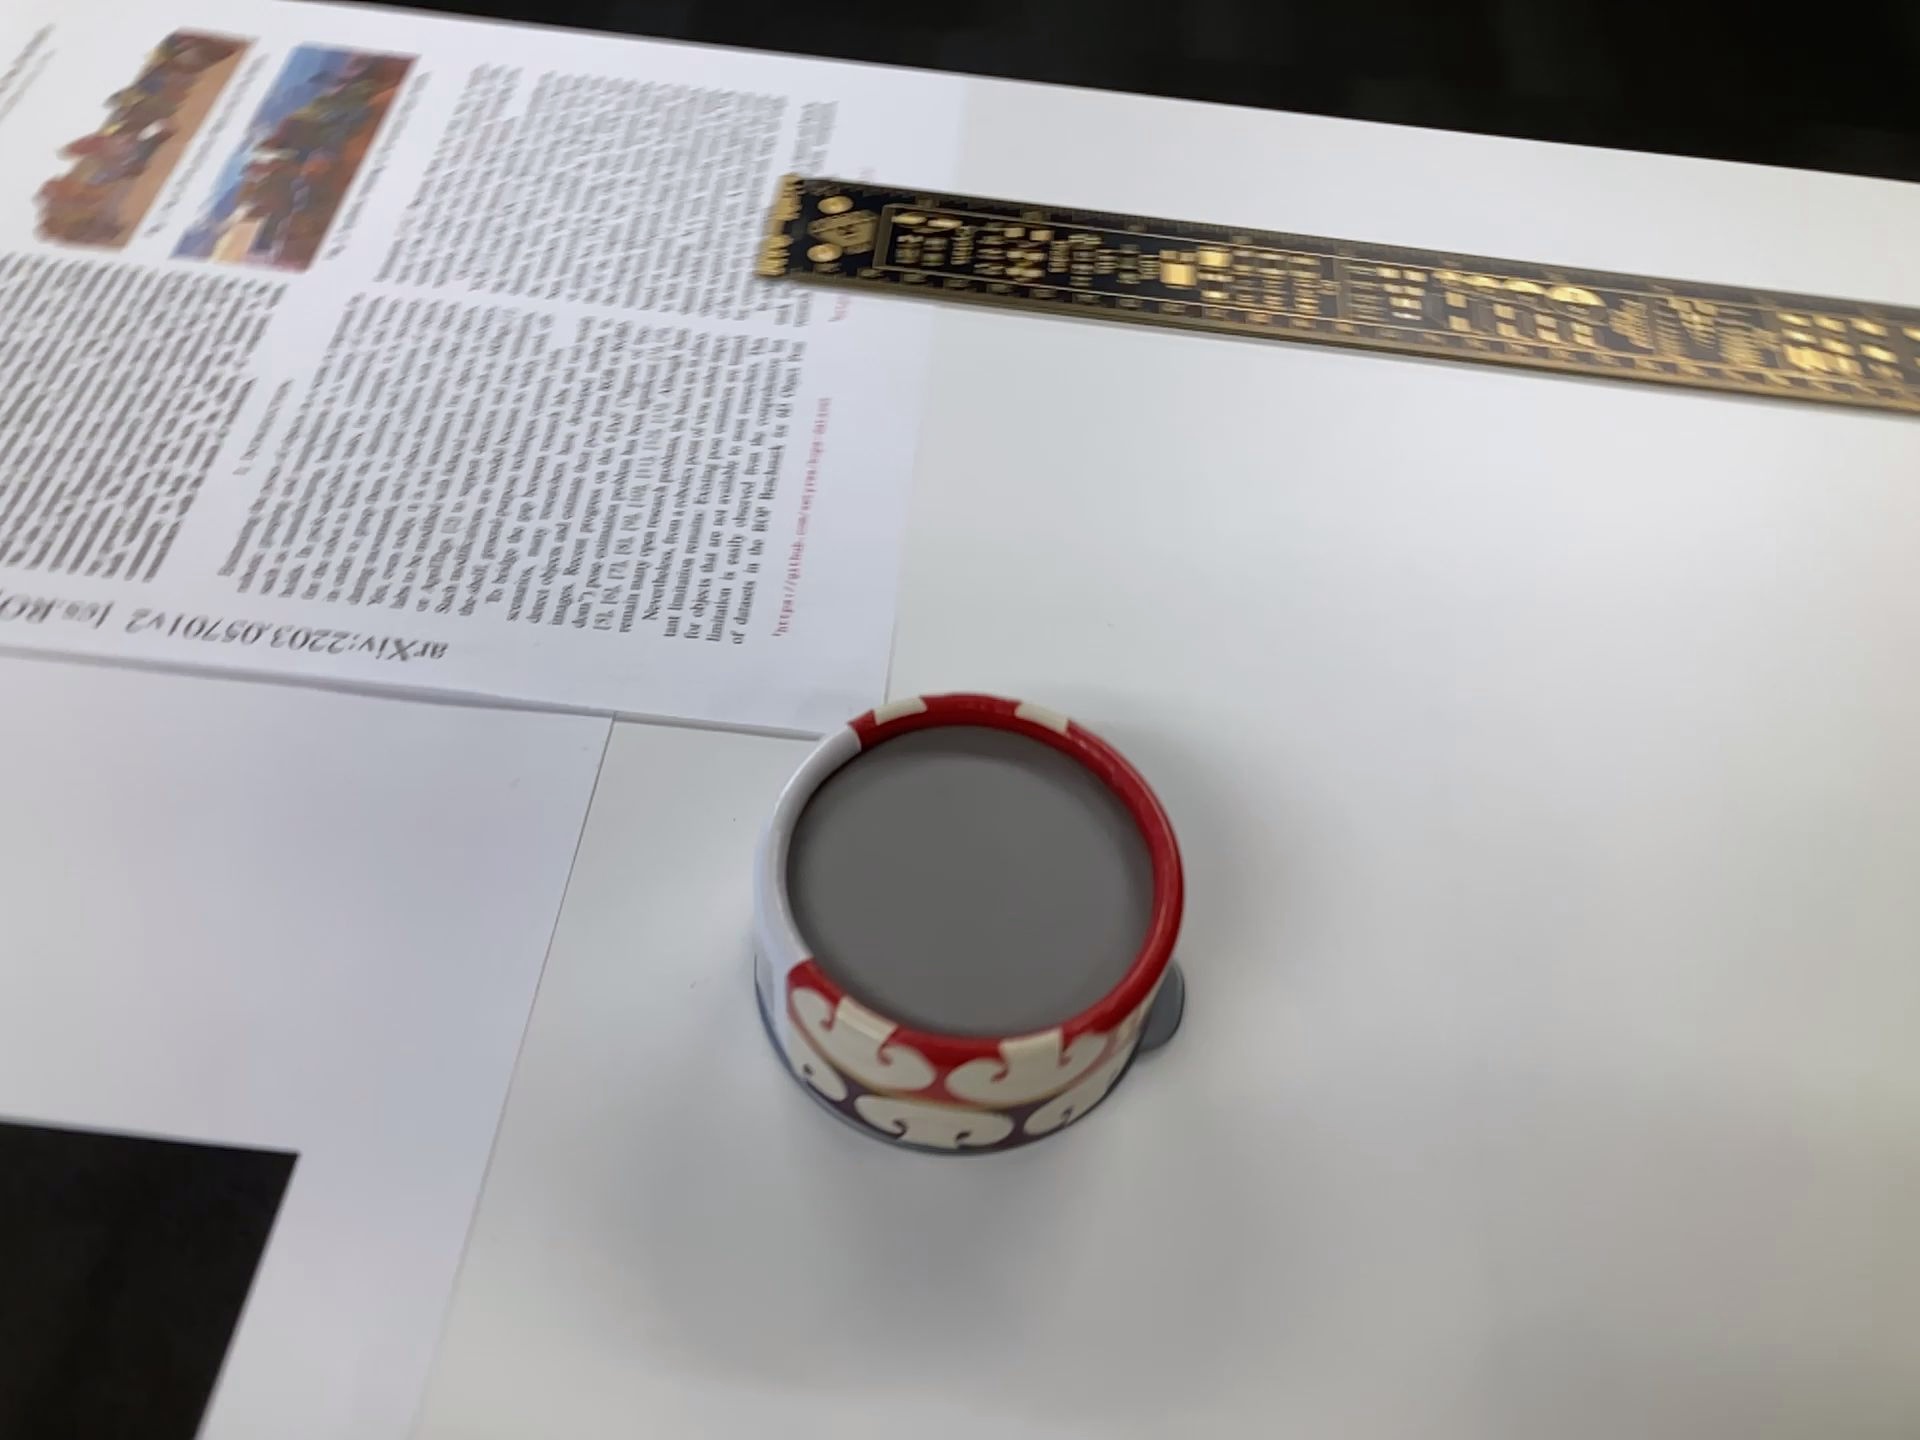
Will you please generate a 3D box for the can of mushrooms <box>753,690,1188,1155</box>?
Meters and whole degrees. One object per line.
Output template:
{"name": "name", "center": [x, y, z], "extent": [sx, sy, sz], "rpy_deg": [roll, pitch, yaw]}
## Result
{"name": "can of mushrooms", "center": [0.003, 0.030, 0.248], "extent": [0.071, 0.033, 0.071], "rpy_deg": [3, 53, -4]}
